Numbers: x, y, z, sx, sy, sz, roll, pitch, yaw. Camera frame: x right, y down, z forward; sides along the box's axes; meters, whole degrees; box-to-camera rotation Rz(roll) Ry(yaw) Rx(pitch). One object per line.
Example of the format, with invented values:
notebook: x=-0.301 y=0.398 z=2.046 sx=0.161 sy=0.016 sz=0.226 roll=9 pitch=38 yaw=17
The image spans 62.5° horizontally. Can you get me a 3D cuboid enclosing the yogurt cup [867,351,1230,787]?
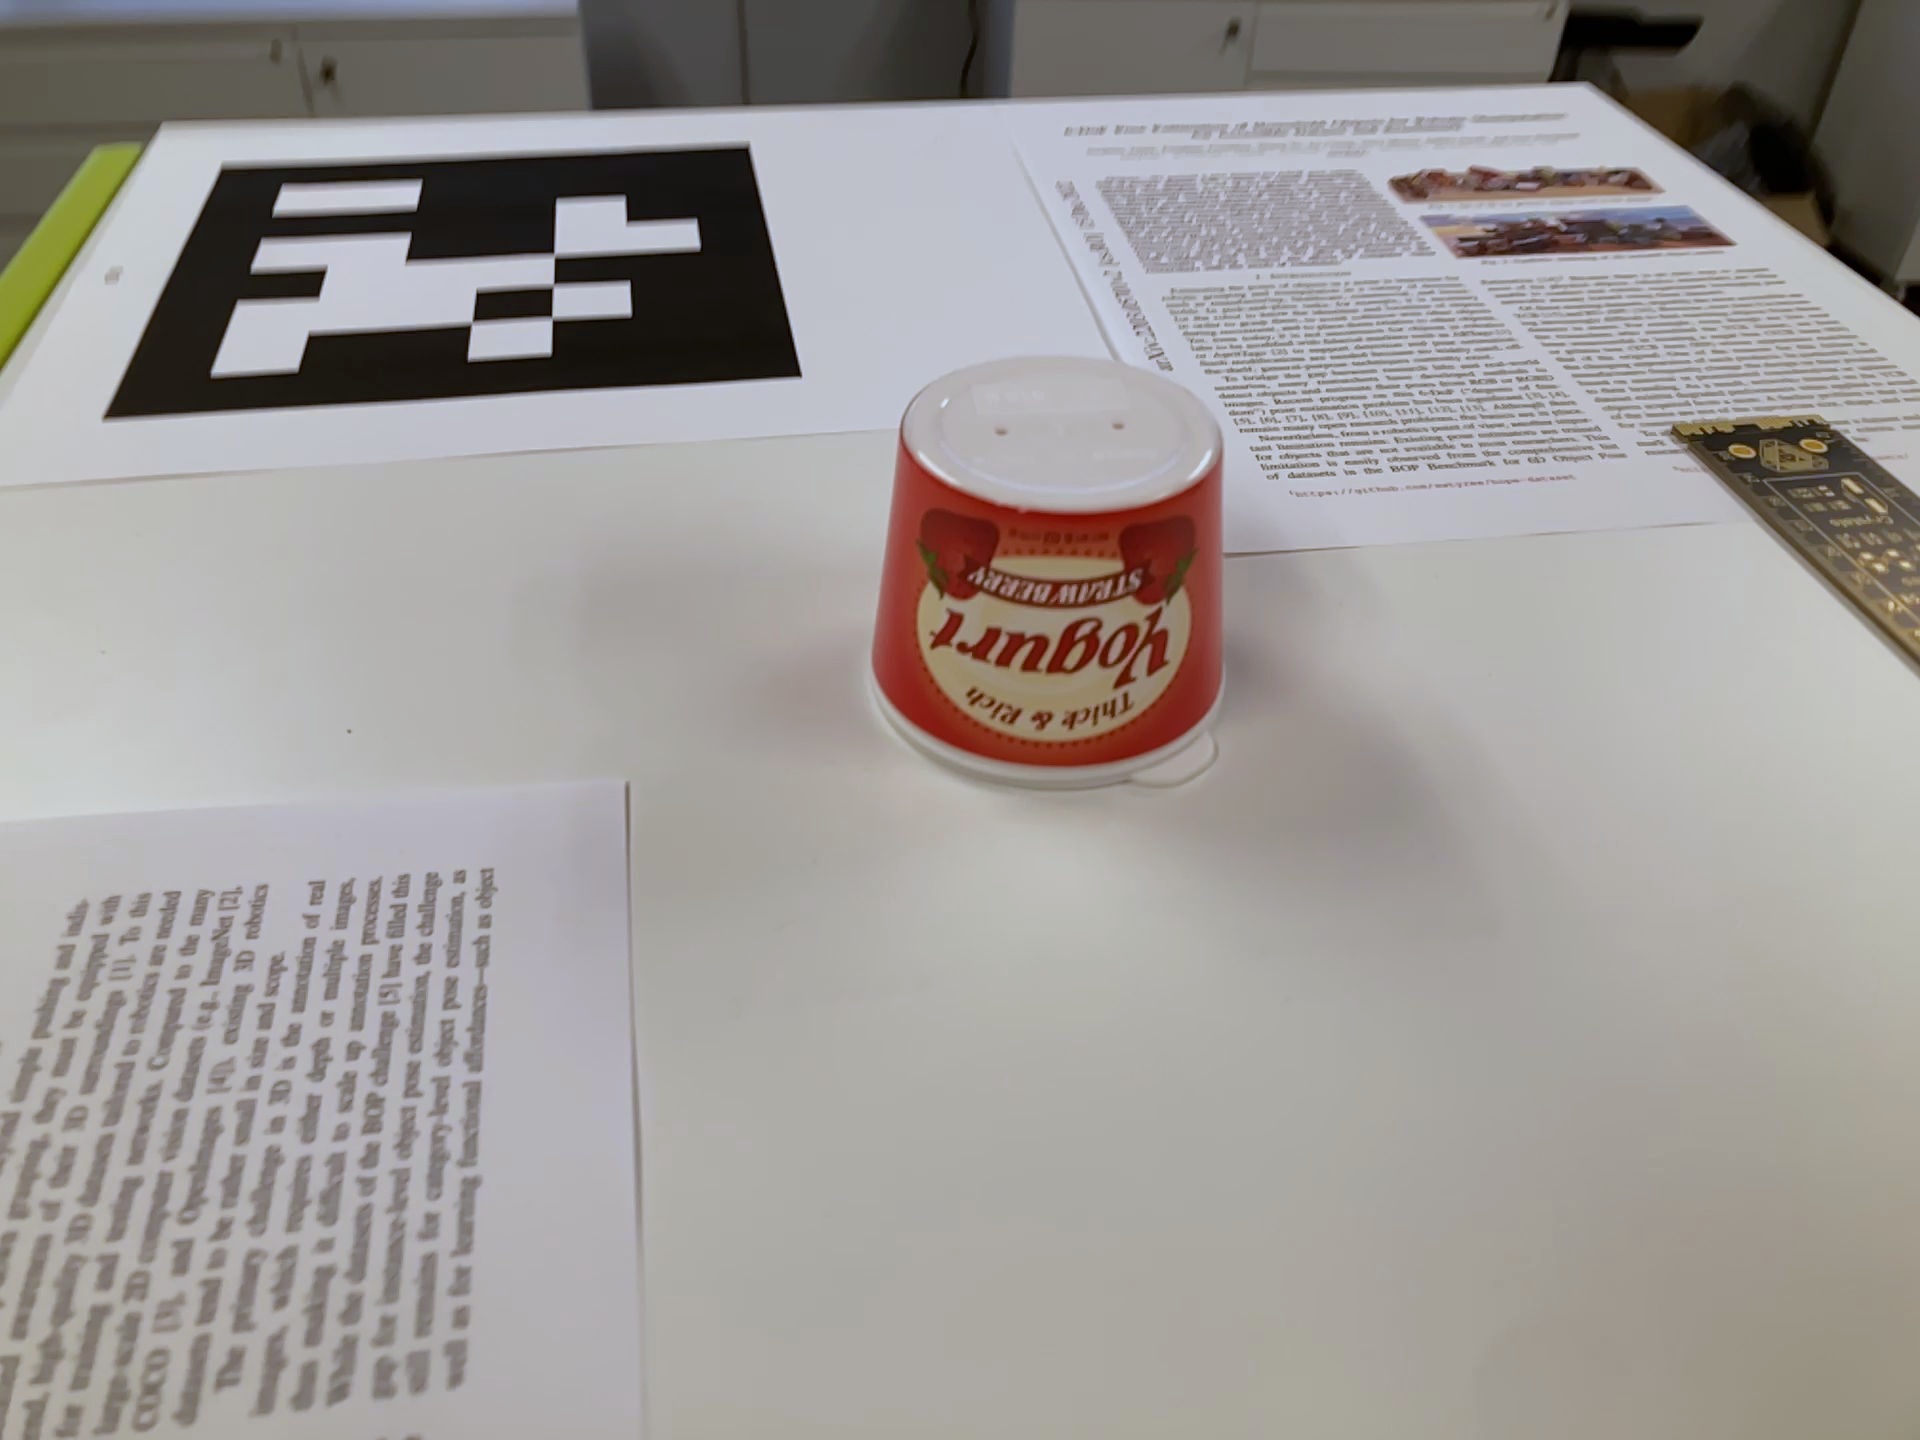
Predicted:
yogurt cup: x=0.017 y=-0.030 z=0.283 sx=0.072 sy=0.054 sz=0.072 roll=0 pitch=39 yaw=0
